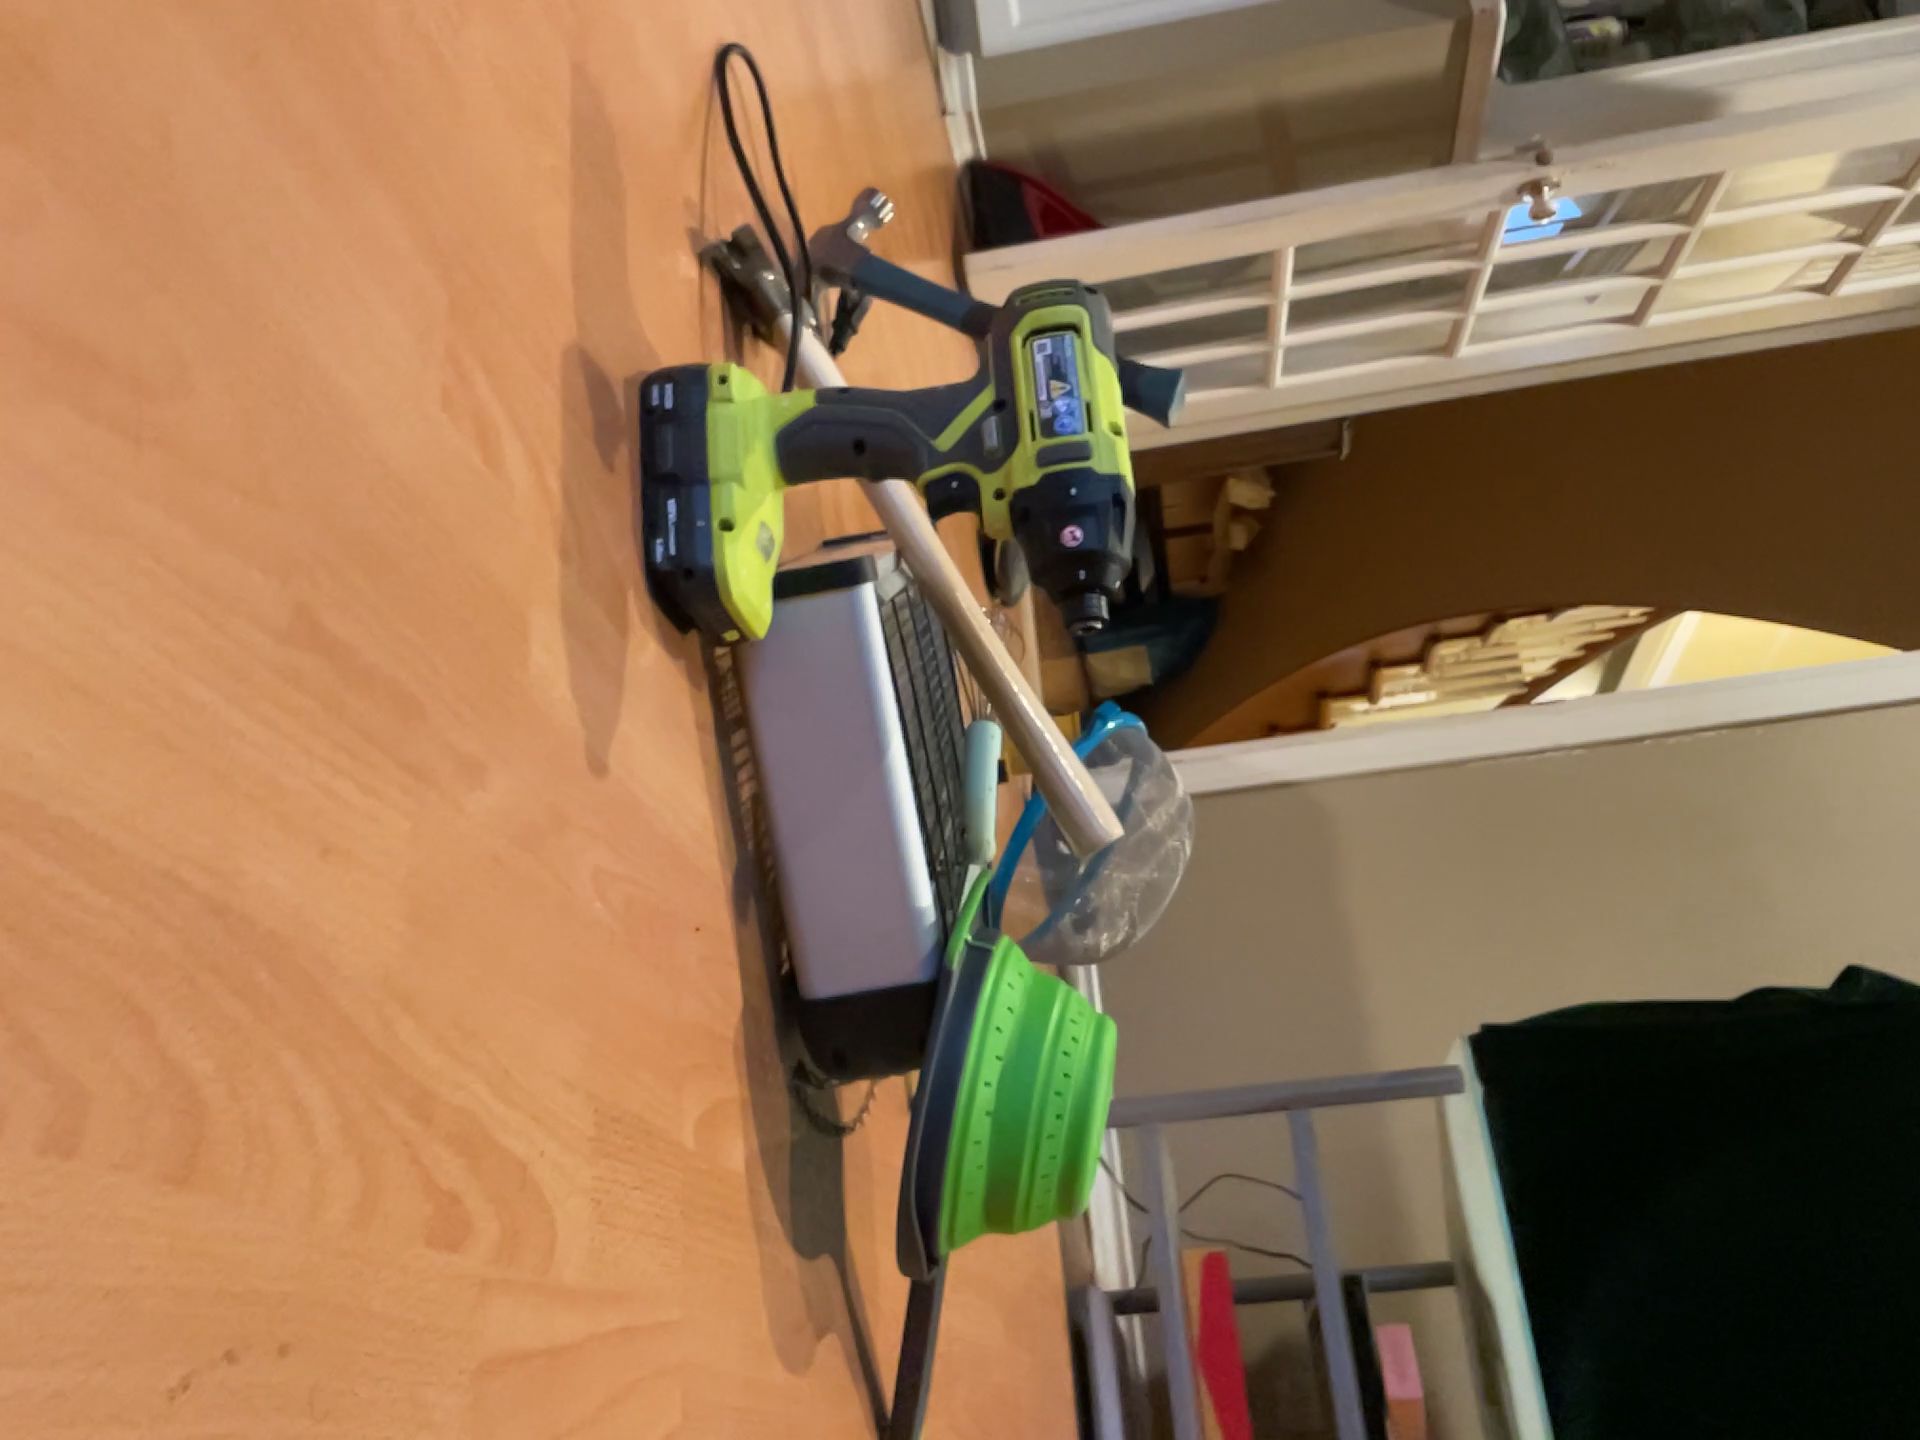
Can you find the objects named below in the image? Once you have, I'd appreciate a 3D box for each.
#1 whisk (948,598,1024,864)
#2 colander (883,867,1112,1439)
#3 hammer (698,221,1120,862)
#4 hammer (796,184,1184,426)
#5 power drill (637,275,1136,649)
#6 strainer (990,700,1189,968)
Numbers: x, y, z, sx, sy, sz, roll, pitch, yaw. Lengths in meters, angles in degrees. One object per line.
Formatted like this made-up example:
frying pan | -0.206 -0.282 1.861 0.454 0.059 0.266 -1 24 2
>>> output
whisk | 0.015 0.003 1.100 0.246 0.059 0.057 -86 -163 -46
colander | 0.020 0.284 0.909 0.205 0.094 0.396 -60 159 -68
hammer | -0.027 -0.101 0.931 0.410 0.038 0.146 59 3 8
hammer | 0.019 -0.288 1.149 0.128 0.331 0.033 -52 153 -19
power drill | -0.031 -0.110 0.753 0.080 0.223 0.171 64 20 -68
strainer | 0.081 0.162 1.196 0.340 0.095 0.211 -62 156 -4
